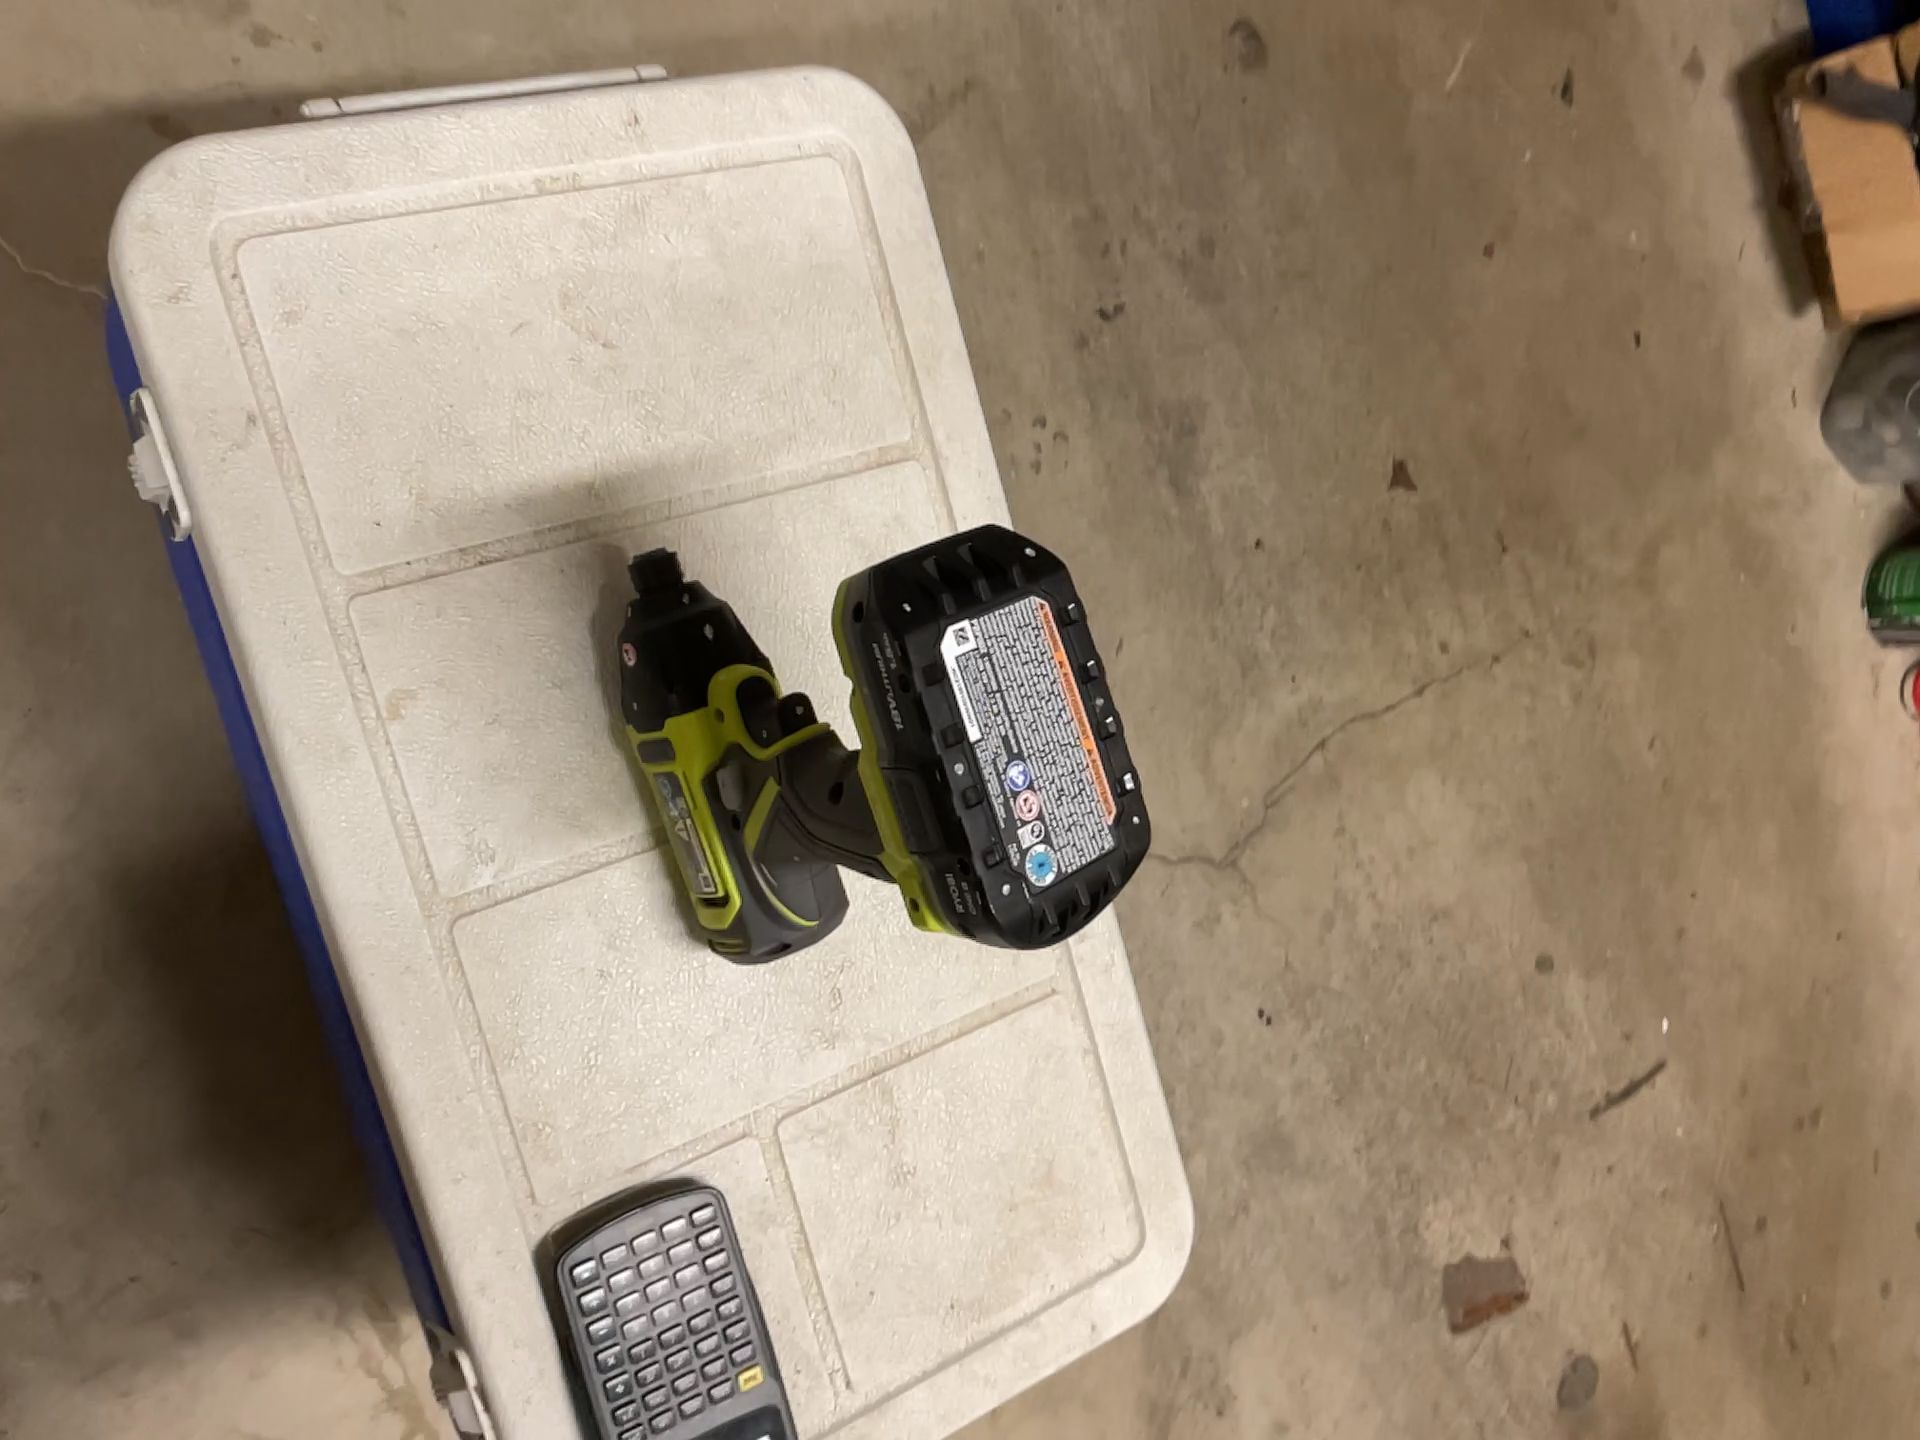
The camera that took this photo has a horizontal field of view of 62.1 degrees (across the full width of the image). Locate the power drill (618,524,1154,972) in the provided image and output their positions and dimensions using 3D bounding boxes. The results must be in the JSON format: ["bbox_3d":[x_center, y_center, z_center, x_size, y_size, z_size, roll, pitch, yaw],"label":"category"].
[{"bbox_3d":[-0.047,0.007,0.581,0.080,0.223,0.171,-24,101,-37],"label":"power drill"}]
